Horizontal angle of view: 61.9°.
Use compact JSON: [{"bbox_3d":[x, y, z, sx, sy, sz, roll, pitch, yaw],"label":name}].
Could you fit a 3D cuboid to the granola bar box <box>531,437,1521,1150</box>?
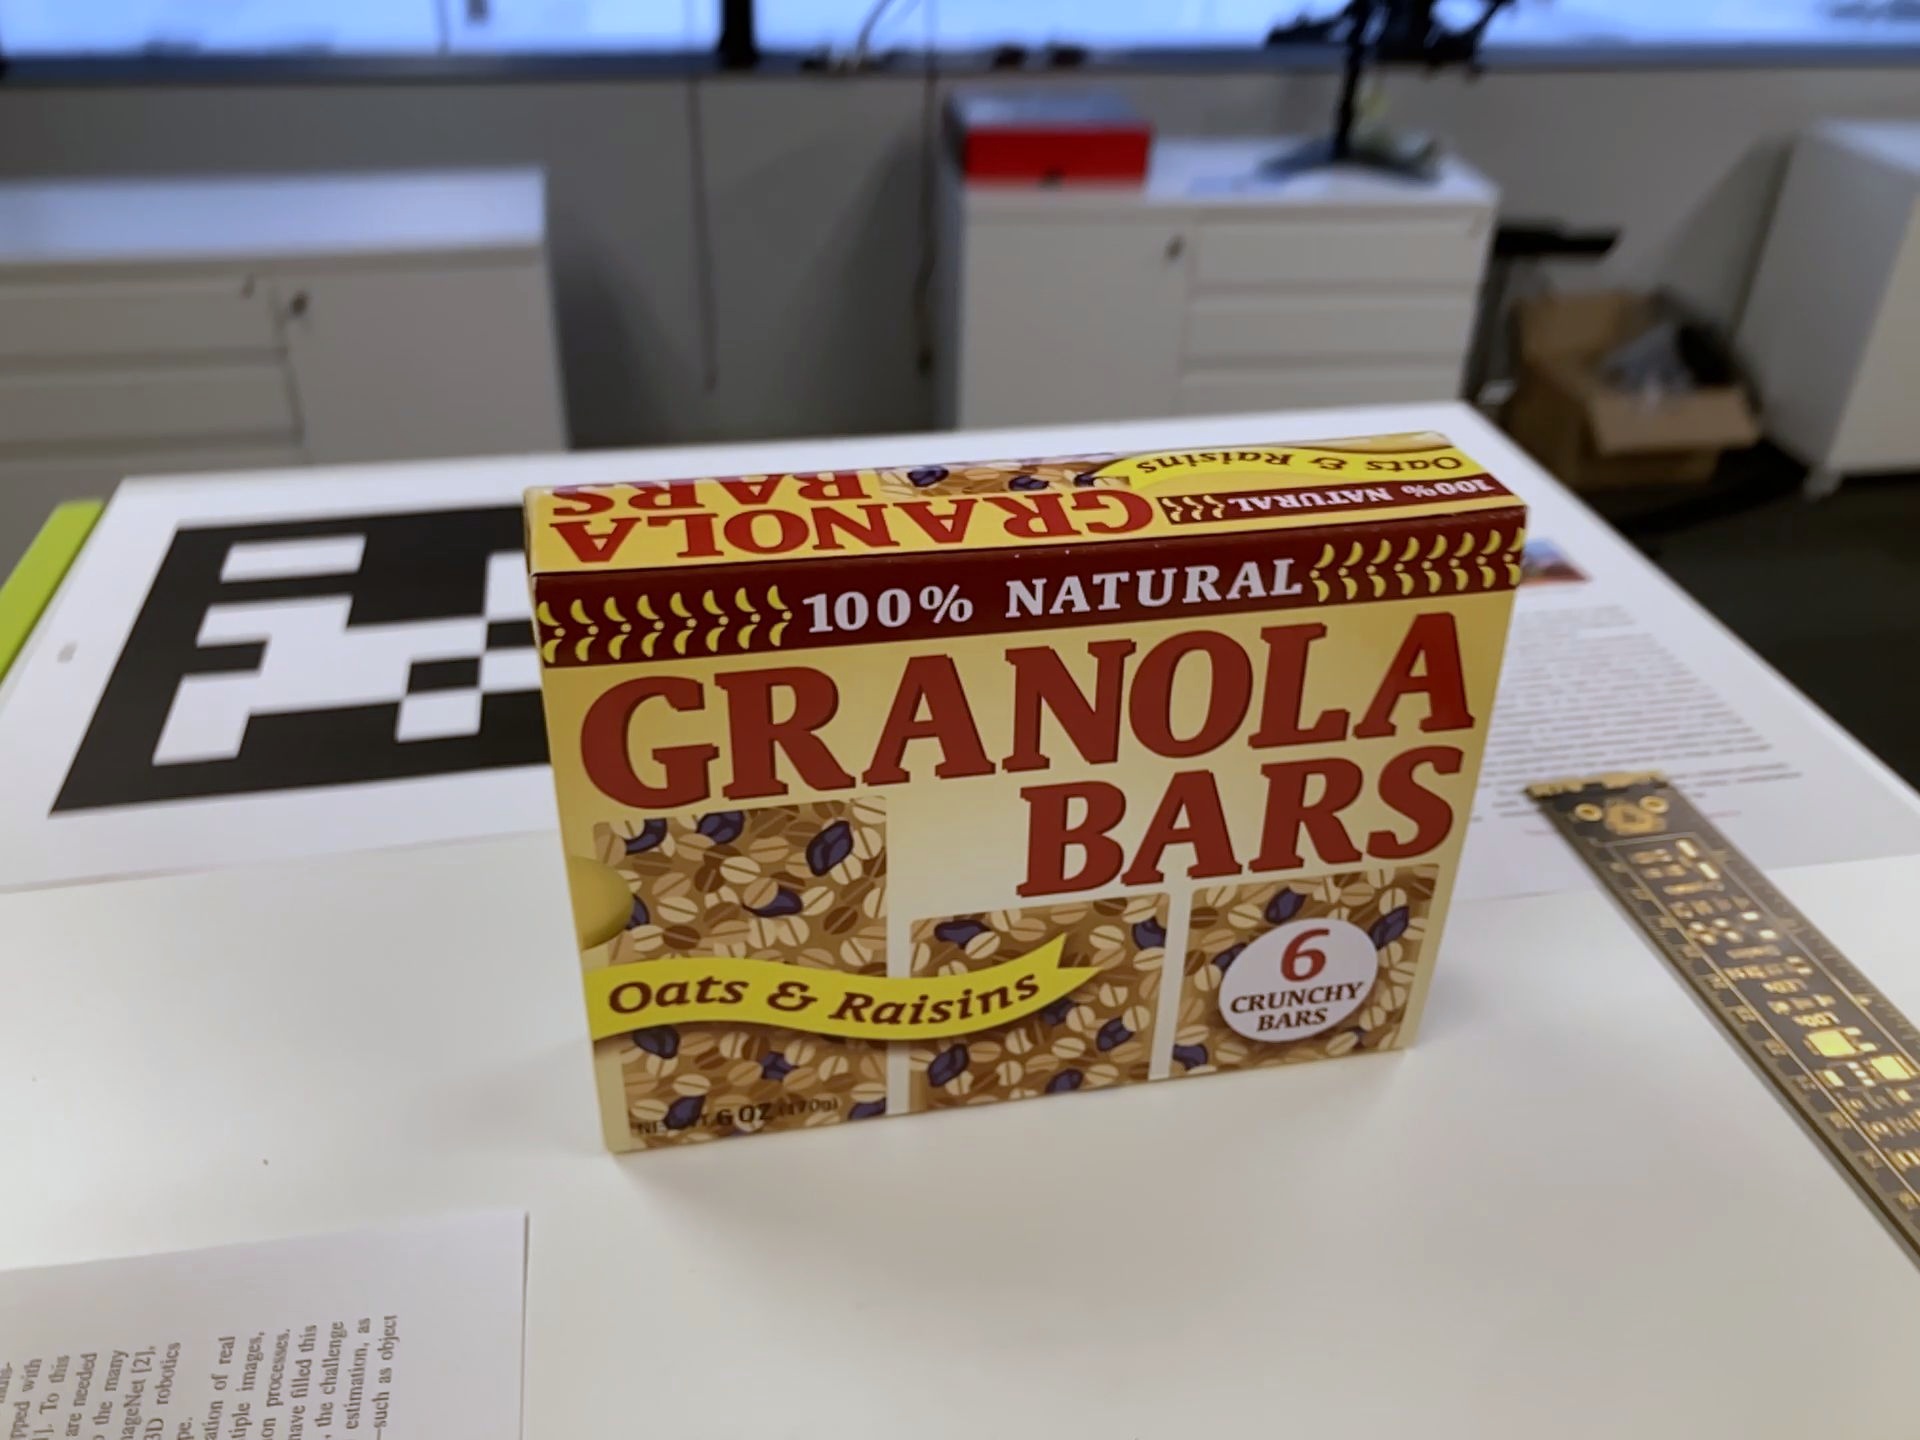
[{"bbox_3d":[0.011,0.015,0.301,0.165,0.124,0.039,-5,32,-10],"label":"granola bar box"}]
